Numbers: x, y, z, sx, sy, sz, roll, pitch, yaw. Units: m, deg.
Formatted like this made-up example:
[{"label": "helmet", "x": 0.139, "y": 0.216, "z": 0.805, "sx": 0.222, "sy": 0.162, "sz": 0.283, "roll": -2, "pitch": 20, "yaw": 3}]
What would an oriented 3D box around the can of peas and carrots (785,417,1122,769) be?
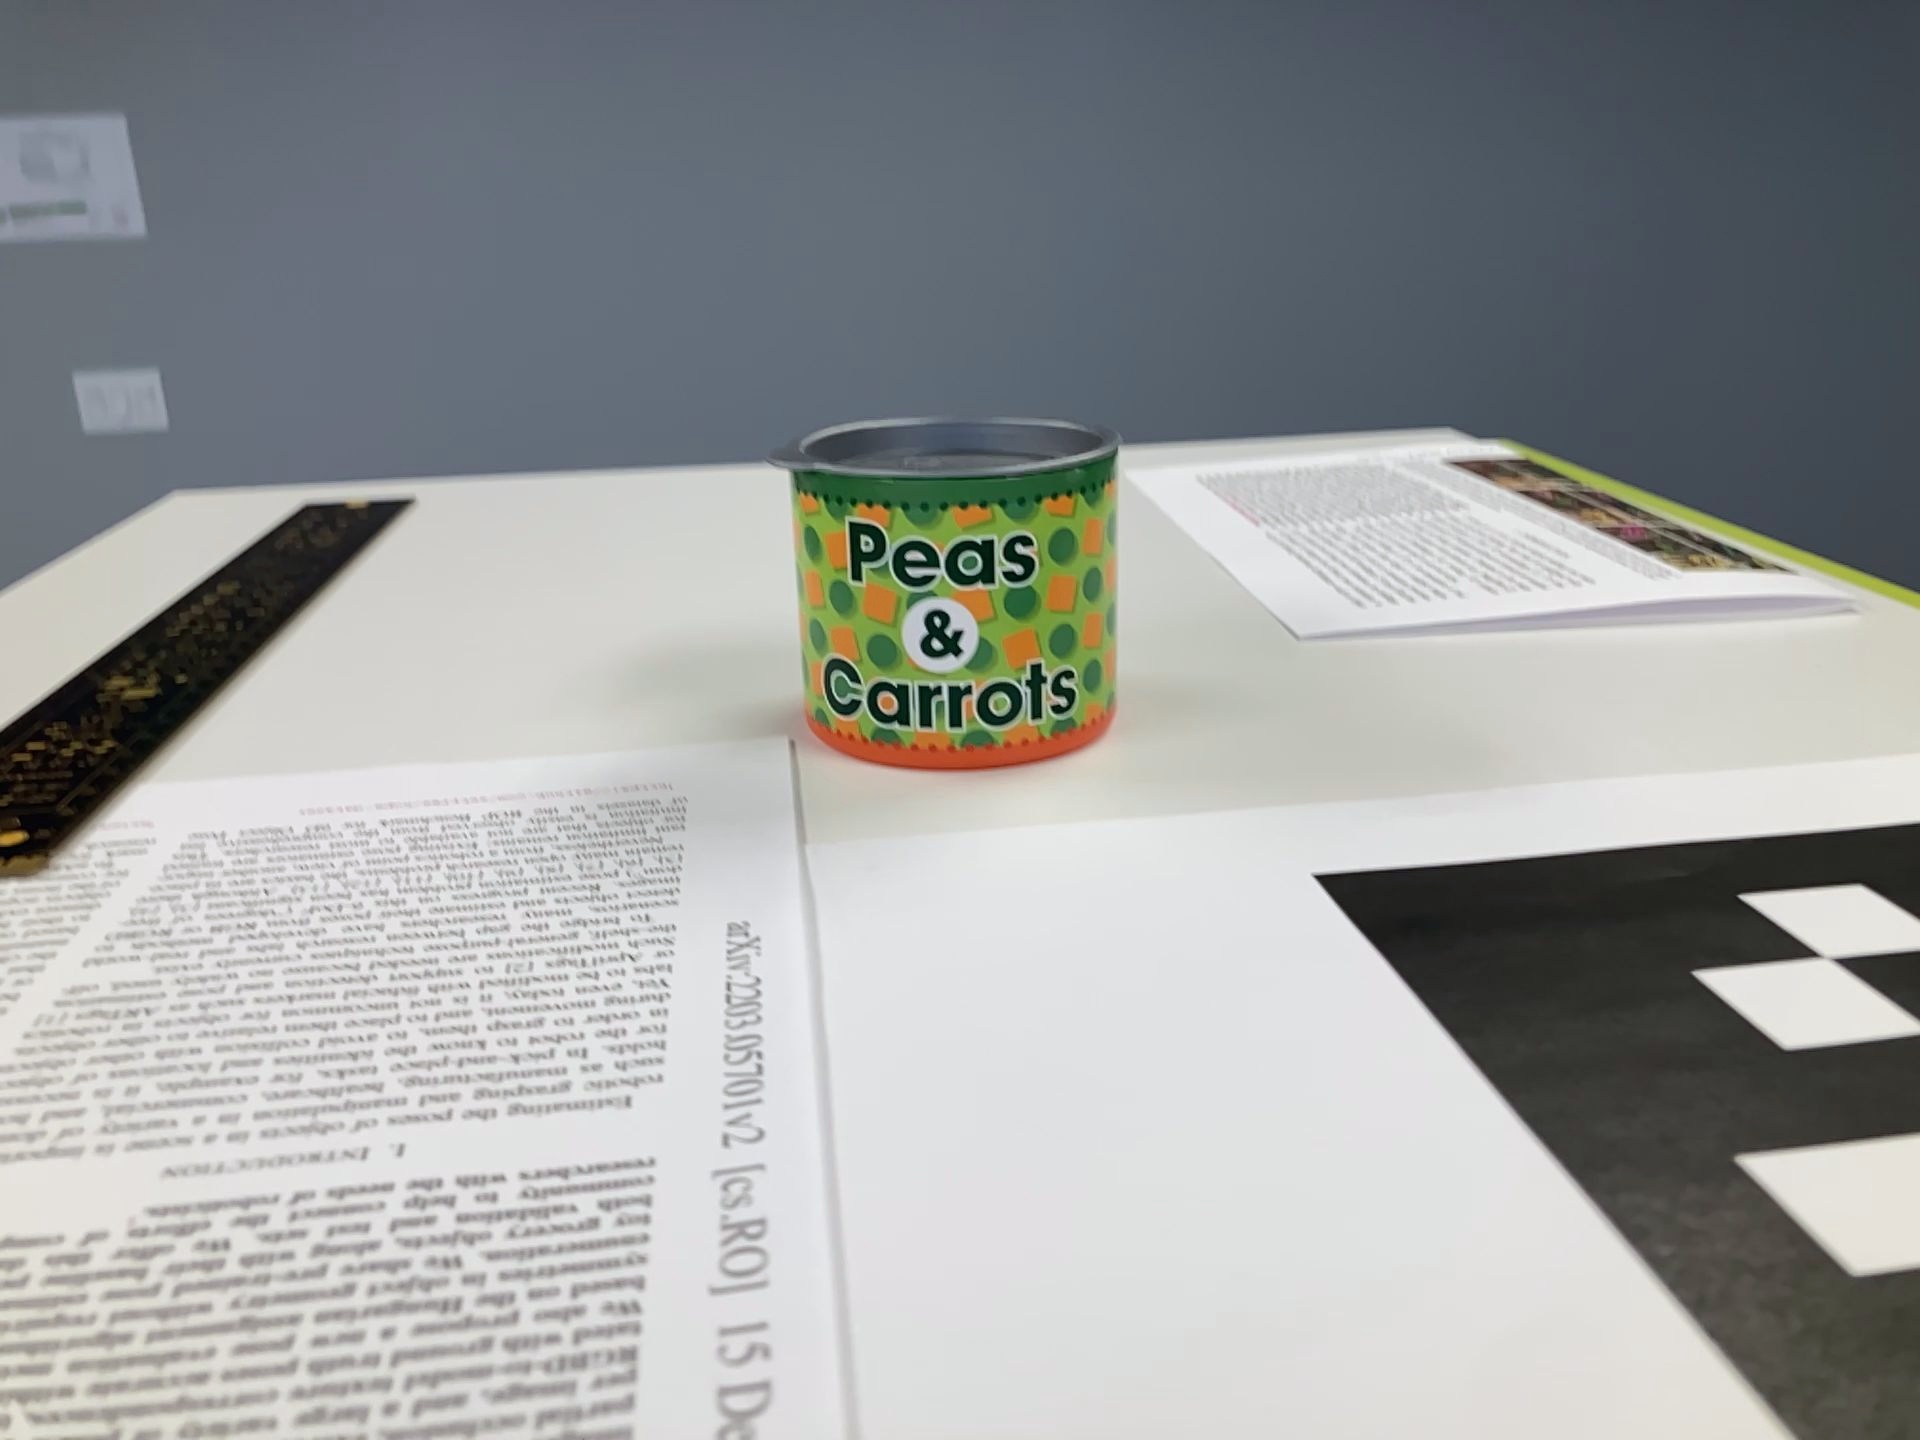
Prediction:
[{"label": "can of peas and carrots", "x": -0.001, "y": -0.027, "z": 0.319, "sx": 0.071, "sy": 0.059, "sz": 0.071, "roll": -1, "pitch": 19, "yaw": 0}]
